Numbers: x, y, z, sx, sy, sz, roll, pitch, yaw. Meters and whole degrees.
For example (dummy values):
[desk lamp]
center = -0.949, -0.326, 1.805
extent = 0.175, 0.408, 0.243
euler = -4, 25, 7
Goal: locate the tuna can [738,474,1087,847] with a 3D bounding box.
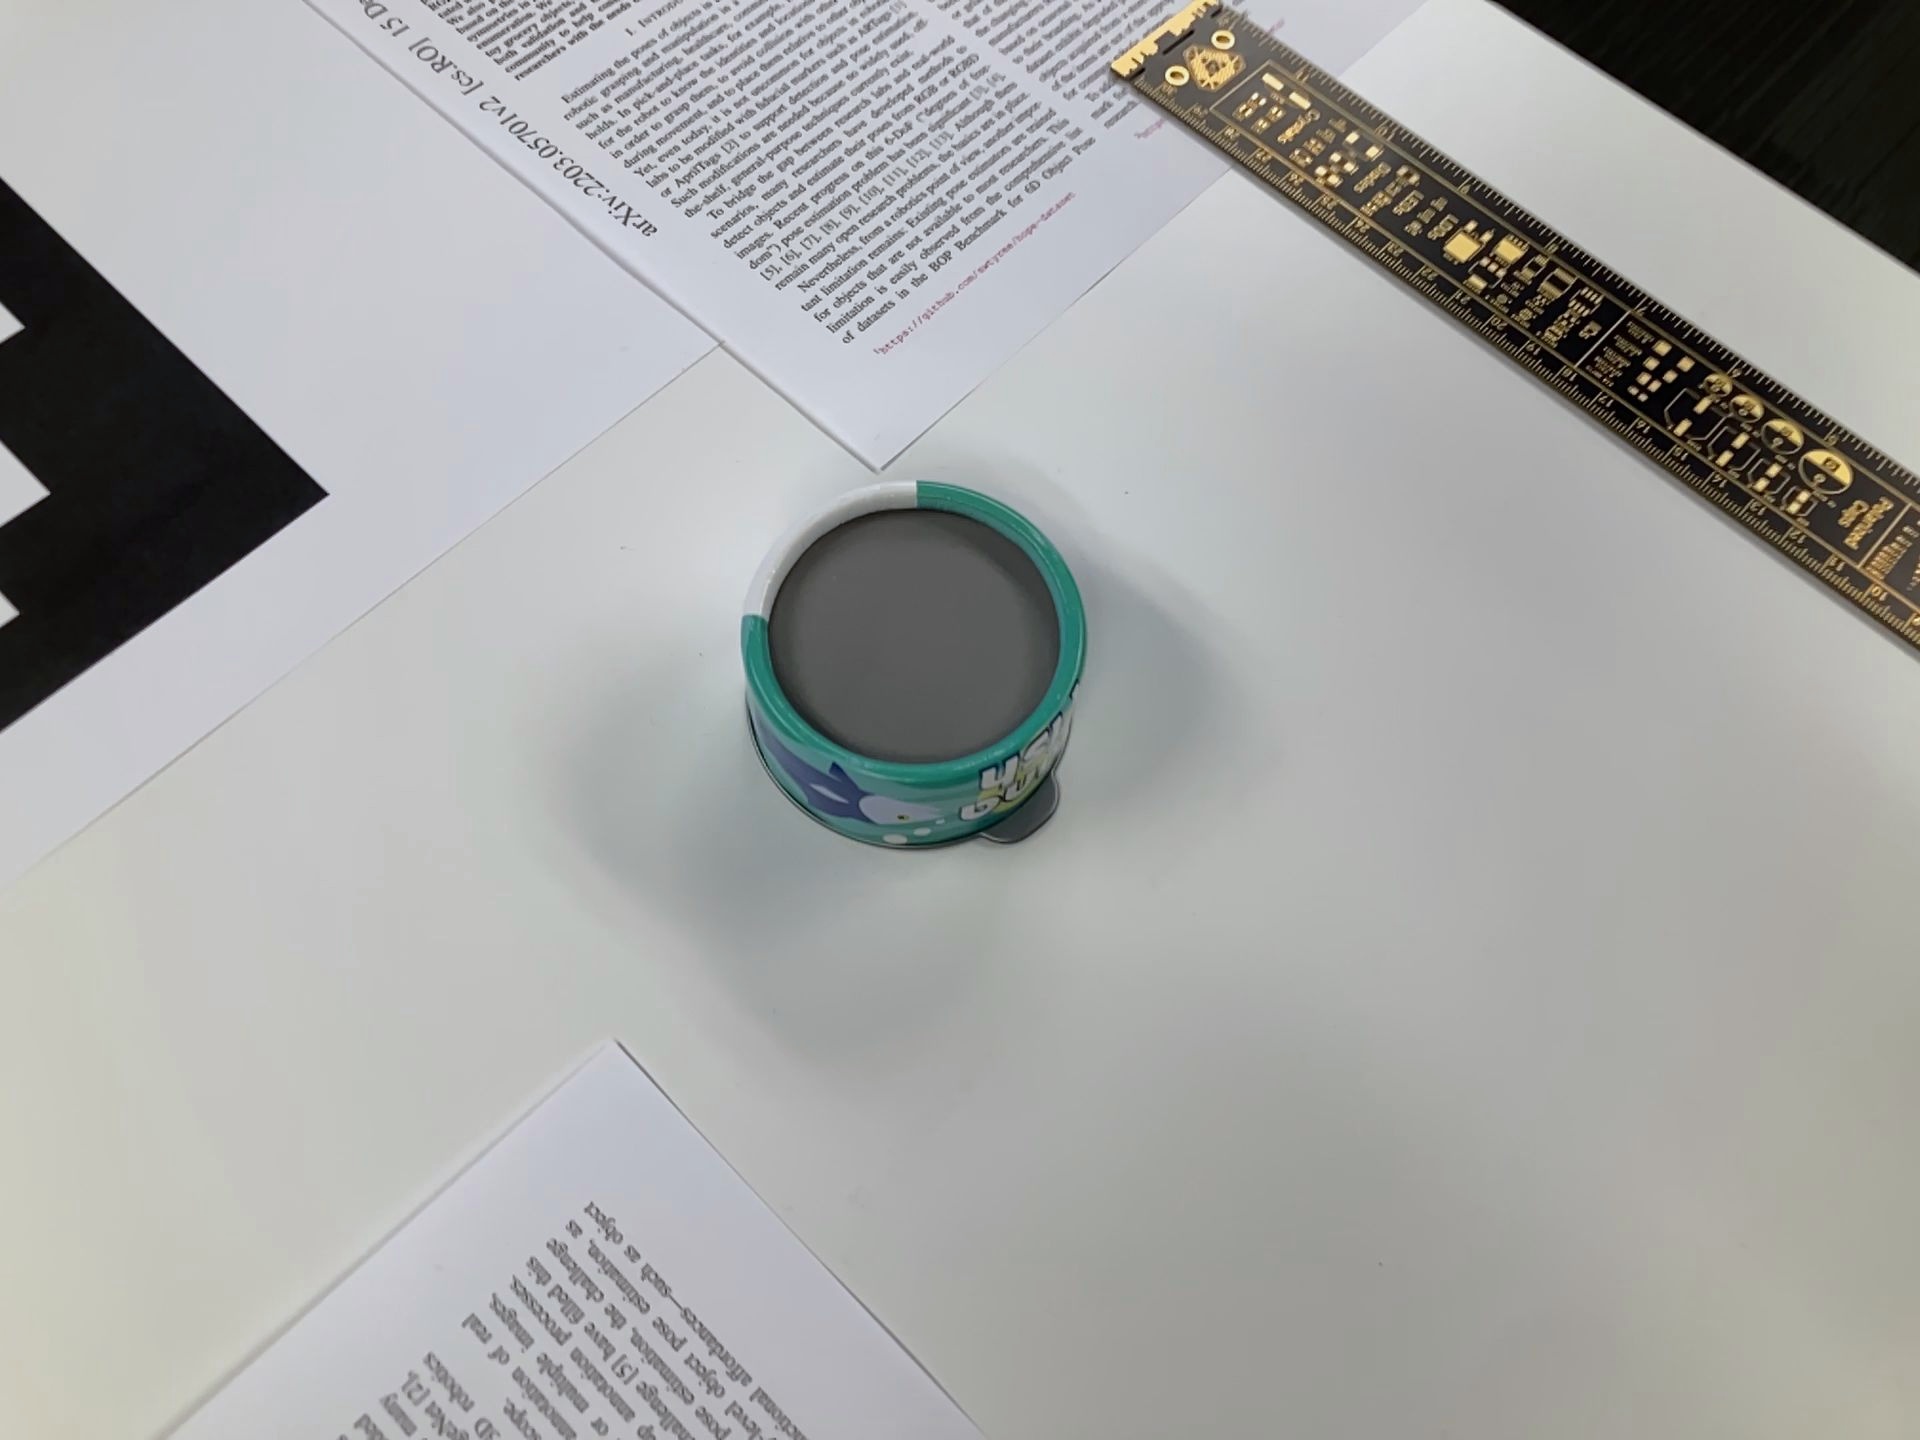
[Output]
[tuna can]
center = -0.008, -0.010, 0.306
extent = 0.071, 0.033, 0.071
euler = 1, 66, -2
